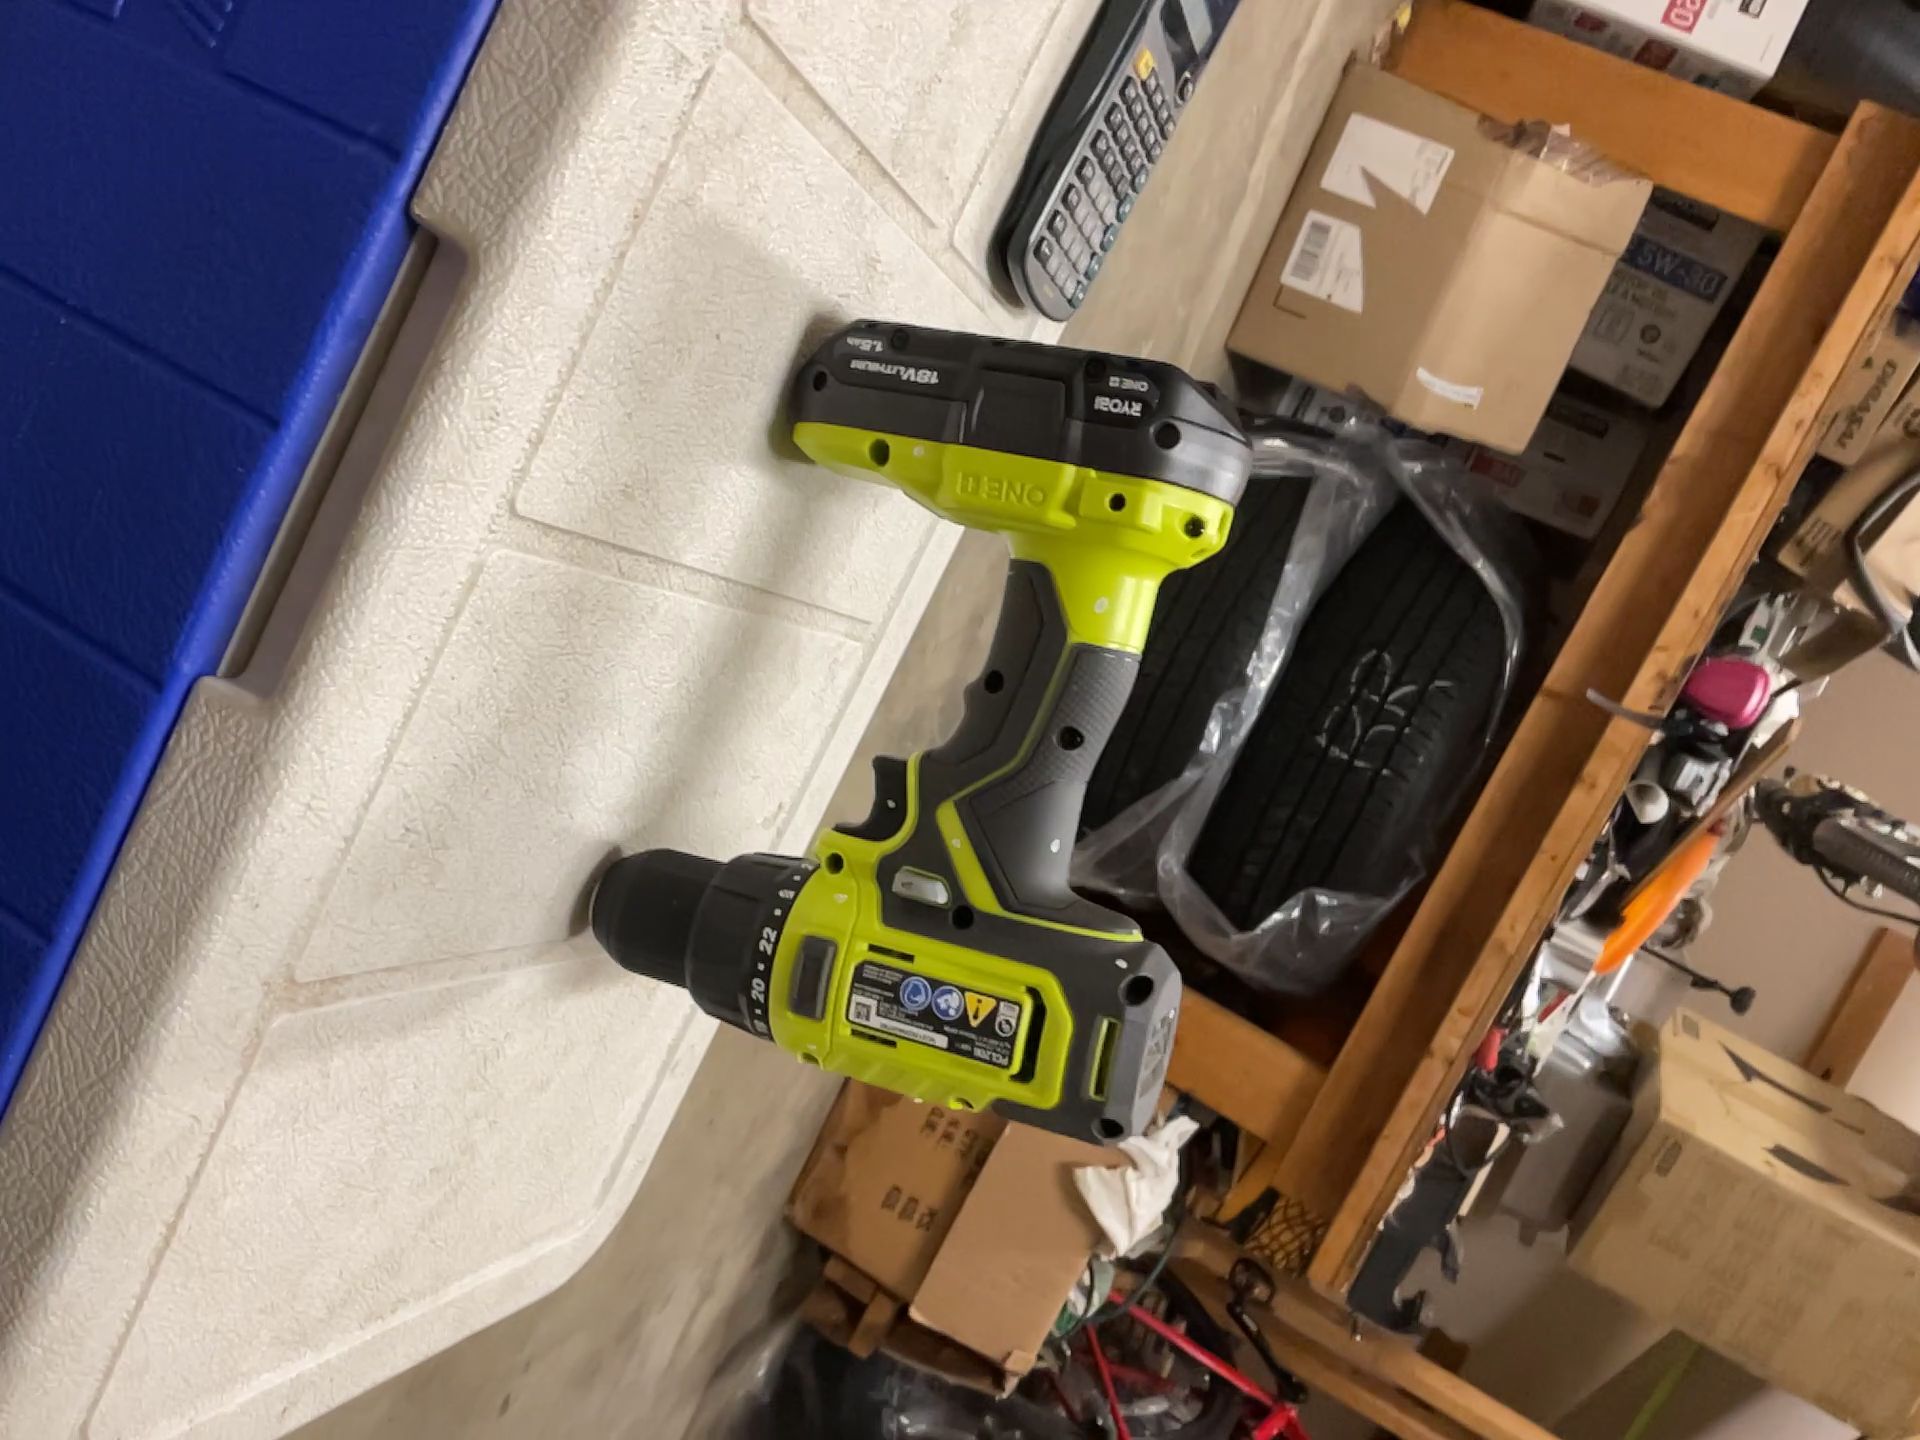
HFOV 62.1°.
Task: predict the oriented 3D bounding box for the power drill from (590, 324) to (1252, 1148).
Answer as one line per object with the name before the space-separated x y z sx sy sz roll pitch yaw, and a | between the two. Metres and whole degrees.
power drill | -0.013 0.002 0.500 0.080 0.190 0.228 2 100 -72
